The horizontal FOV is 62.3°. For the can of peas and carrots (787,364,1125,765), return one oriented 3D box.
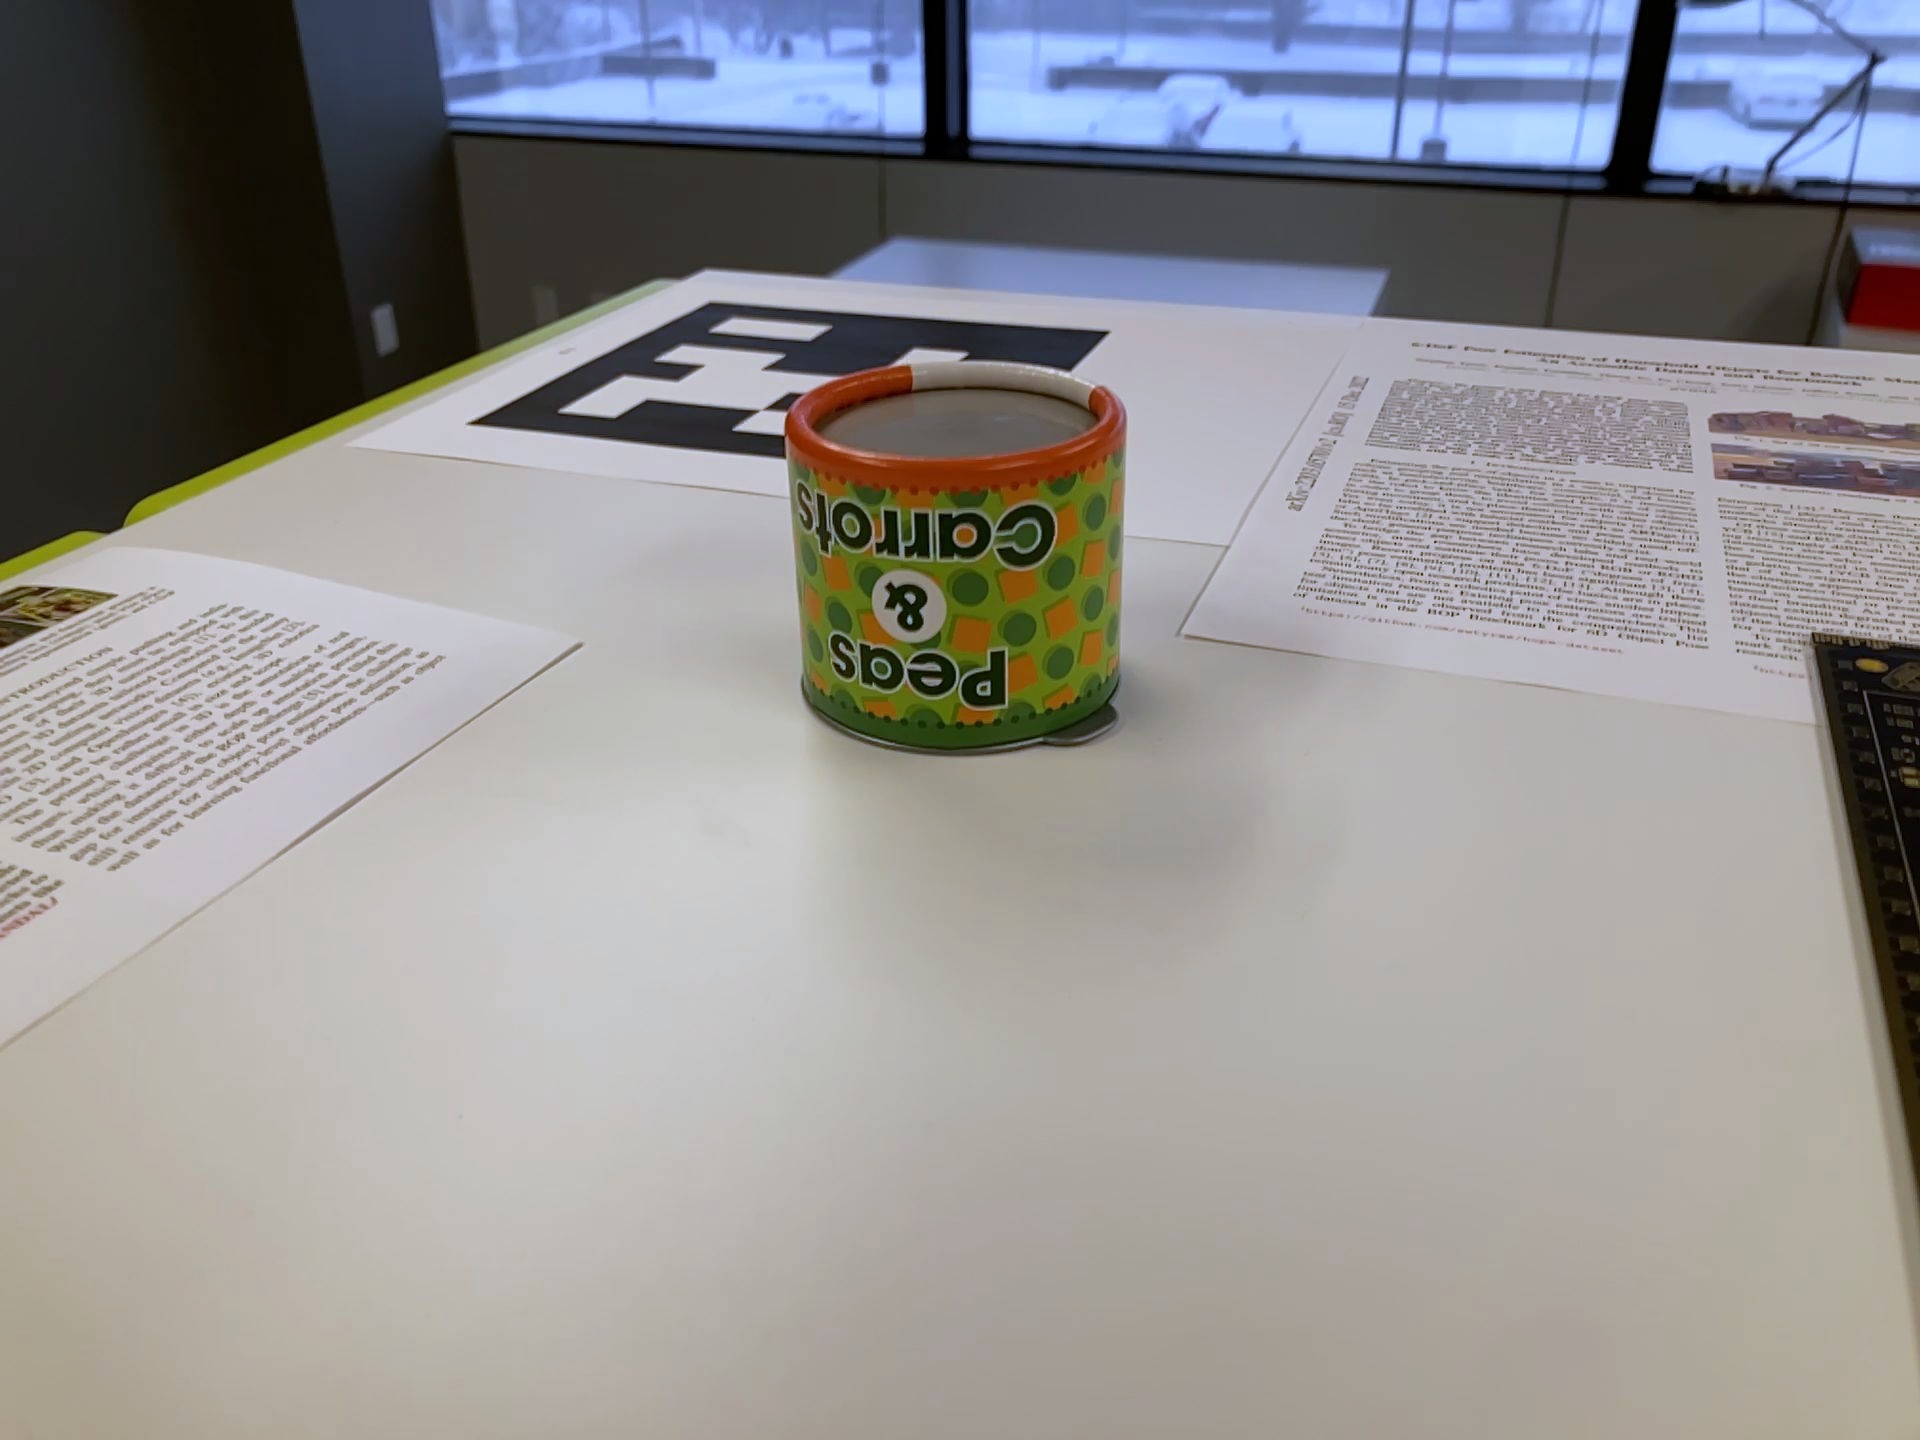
[{"bbox_3d":[-0.001,-0.034,0.317,0.071,0.059,0.071,-2,28,1],"label":"can of peas and carrots"}]
